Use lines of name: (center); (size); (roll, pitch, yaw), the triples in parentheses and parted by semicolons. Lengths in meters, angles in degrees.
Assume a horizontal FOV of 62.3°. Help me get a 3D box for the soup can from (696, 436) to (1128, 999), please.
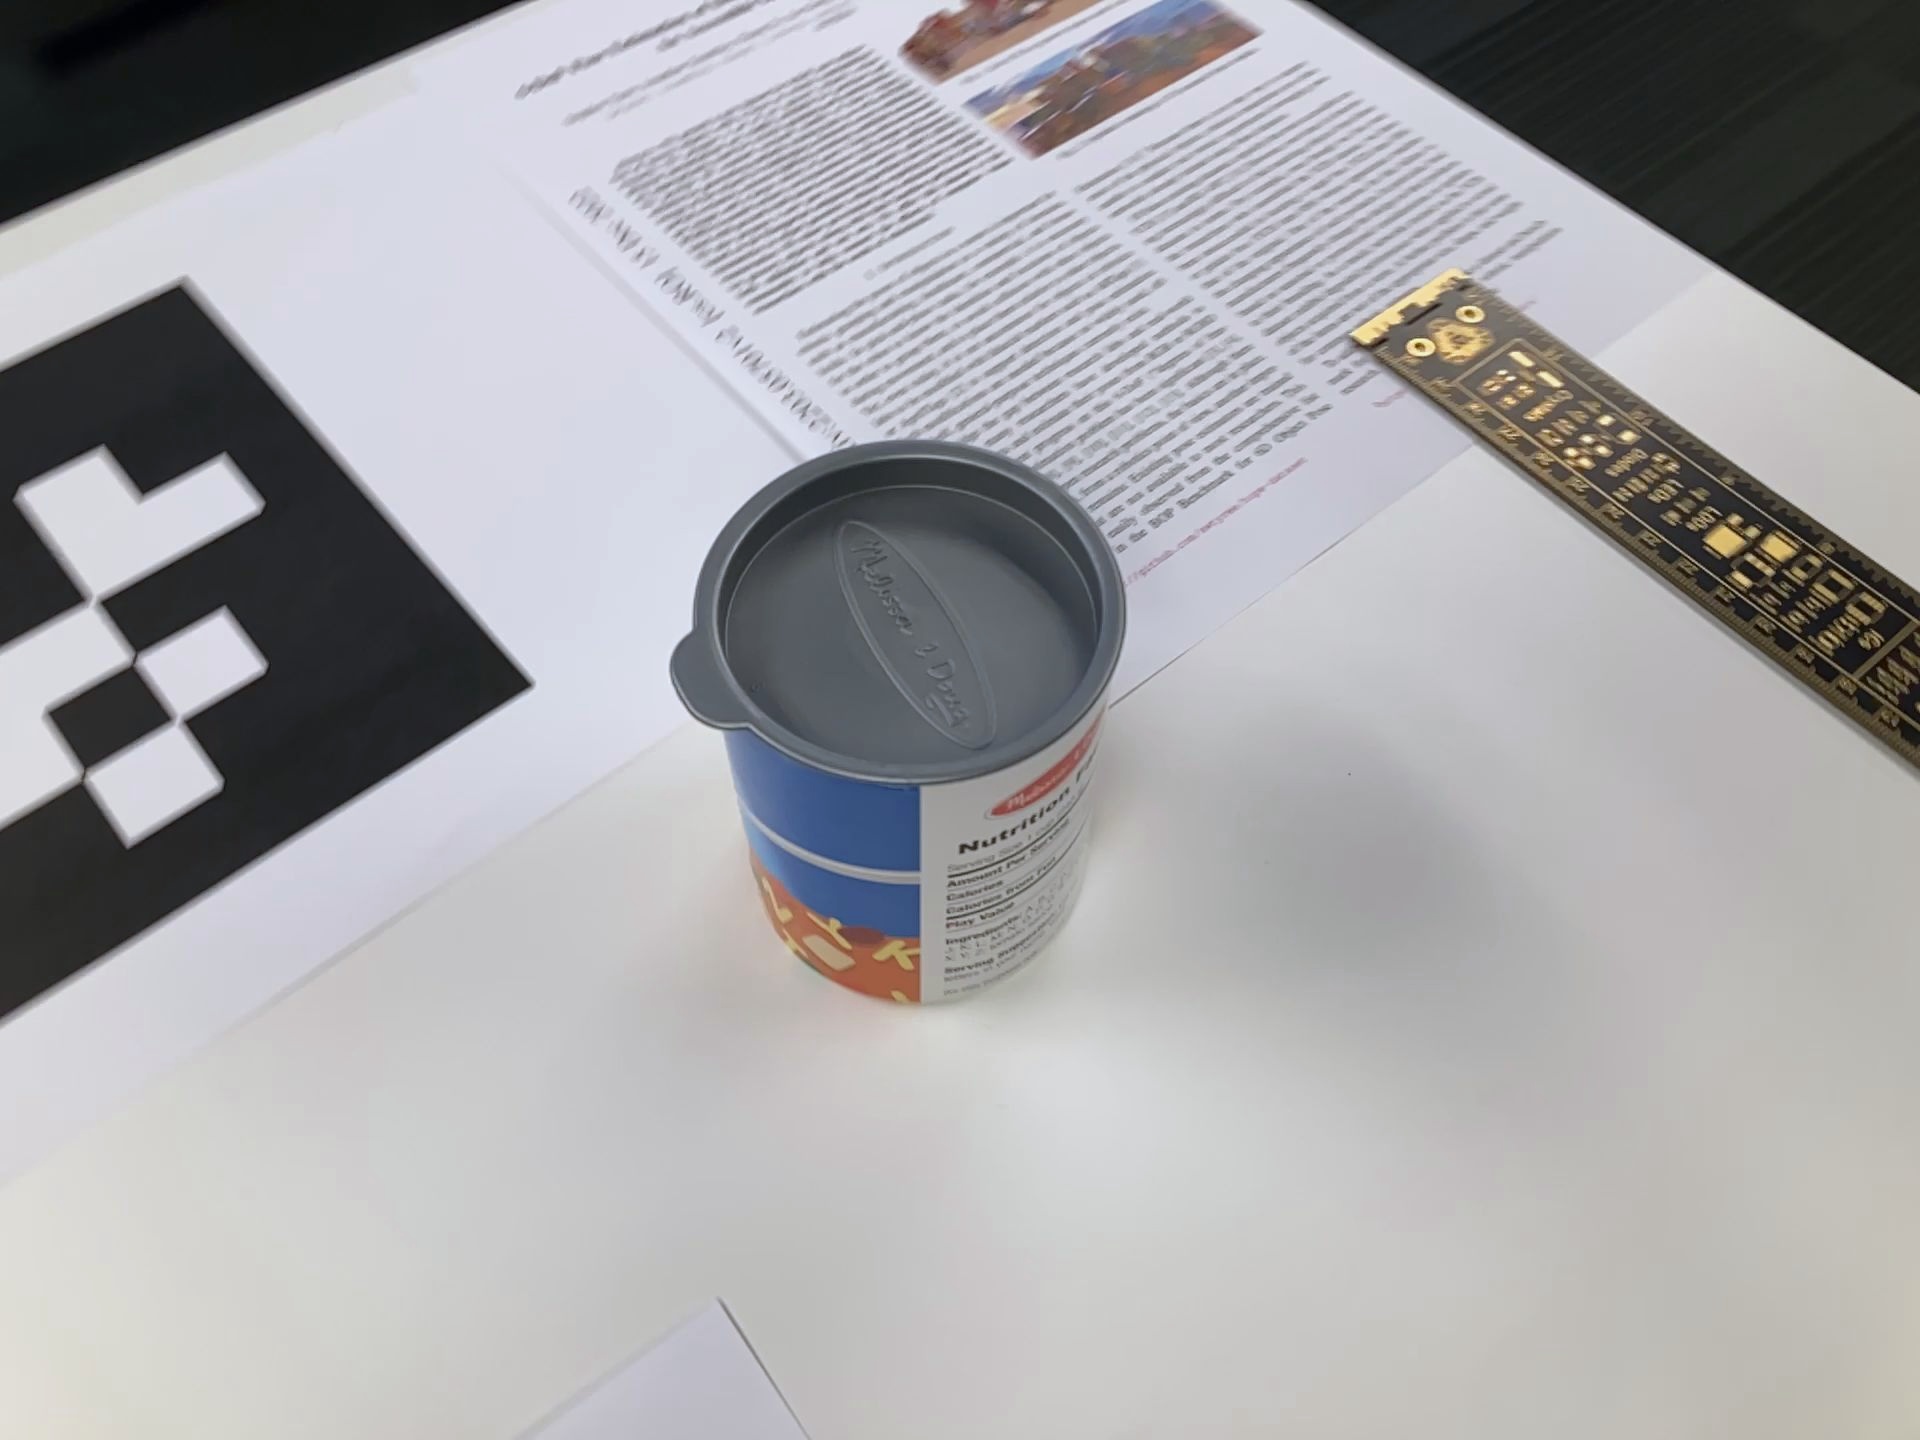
soup can: (-0.010, 0.001, 0.280); (0.071, 0.084, 0.071); (1, 57, -1)
